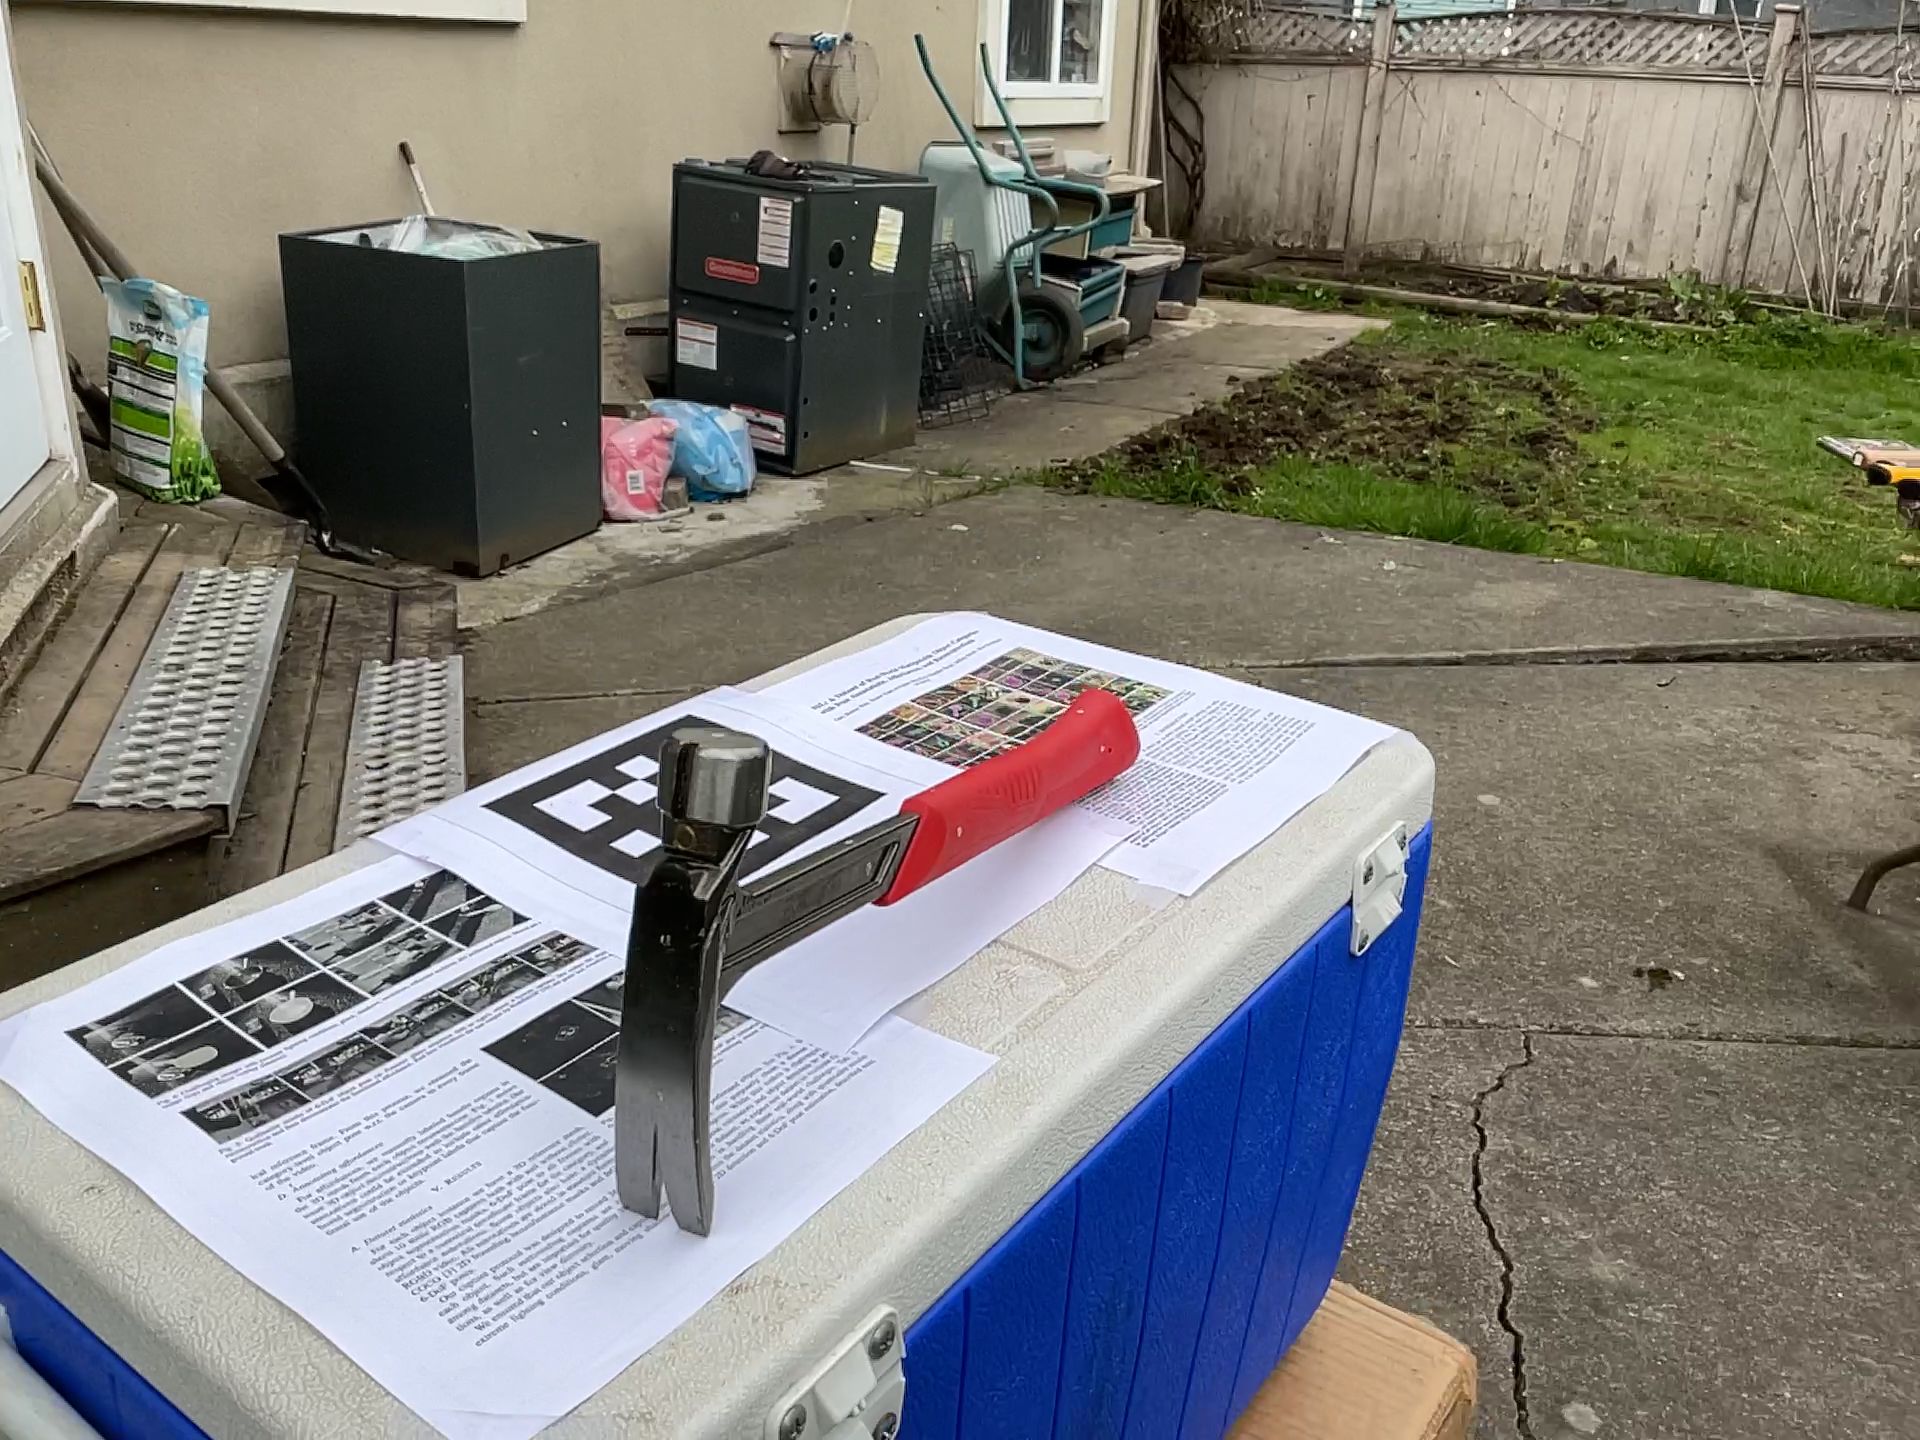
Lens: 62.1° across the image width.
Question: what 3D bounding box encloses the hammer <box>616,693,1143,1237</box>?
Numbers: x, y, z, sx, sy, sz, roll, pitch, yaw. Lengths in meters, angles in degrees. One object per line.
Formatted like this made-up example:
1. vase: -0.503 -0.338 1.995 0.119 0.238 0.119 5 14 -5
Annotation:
1. hammer: -0.008 0.052 0.609 0.037 0.149 0.359 12 14 24
